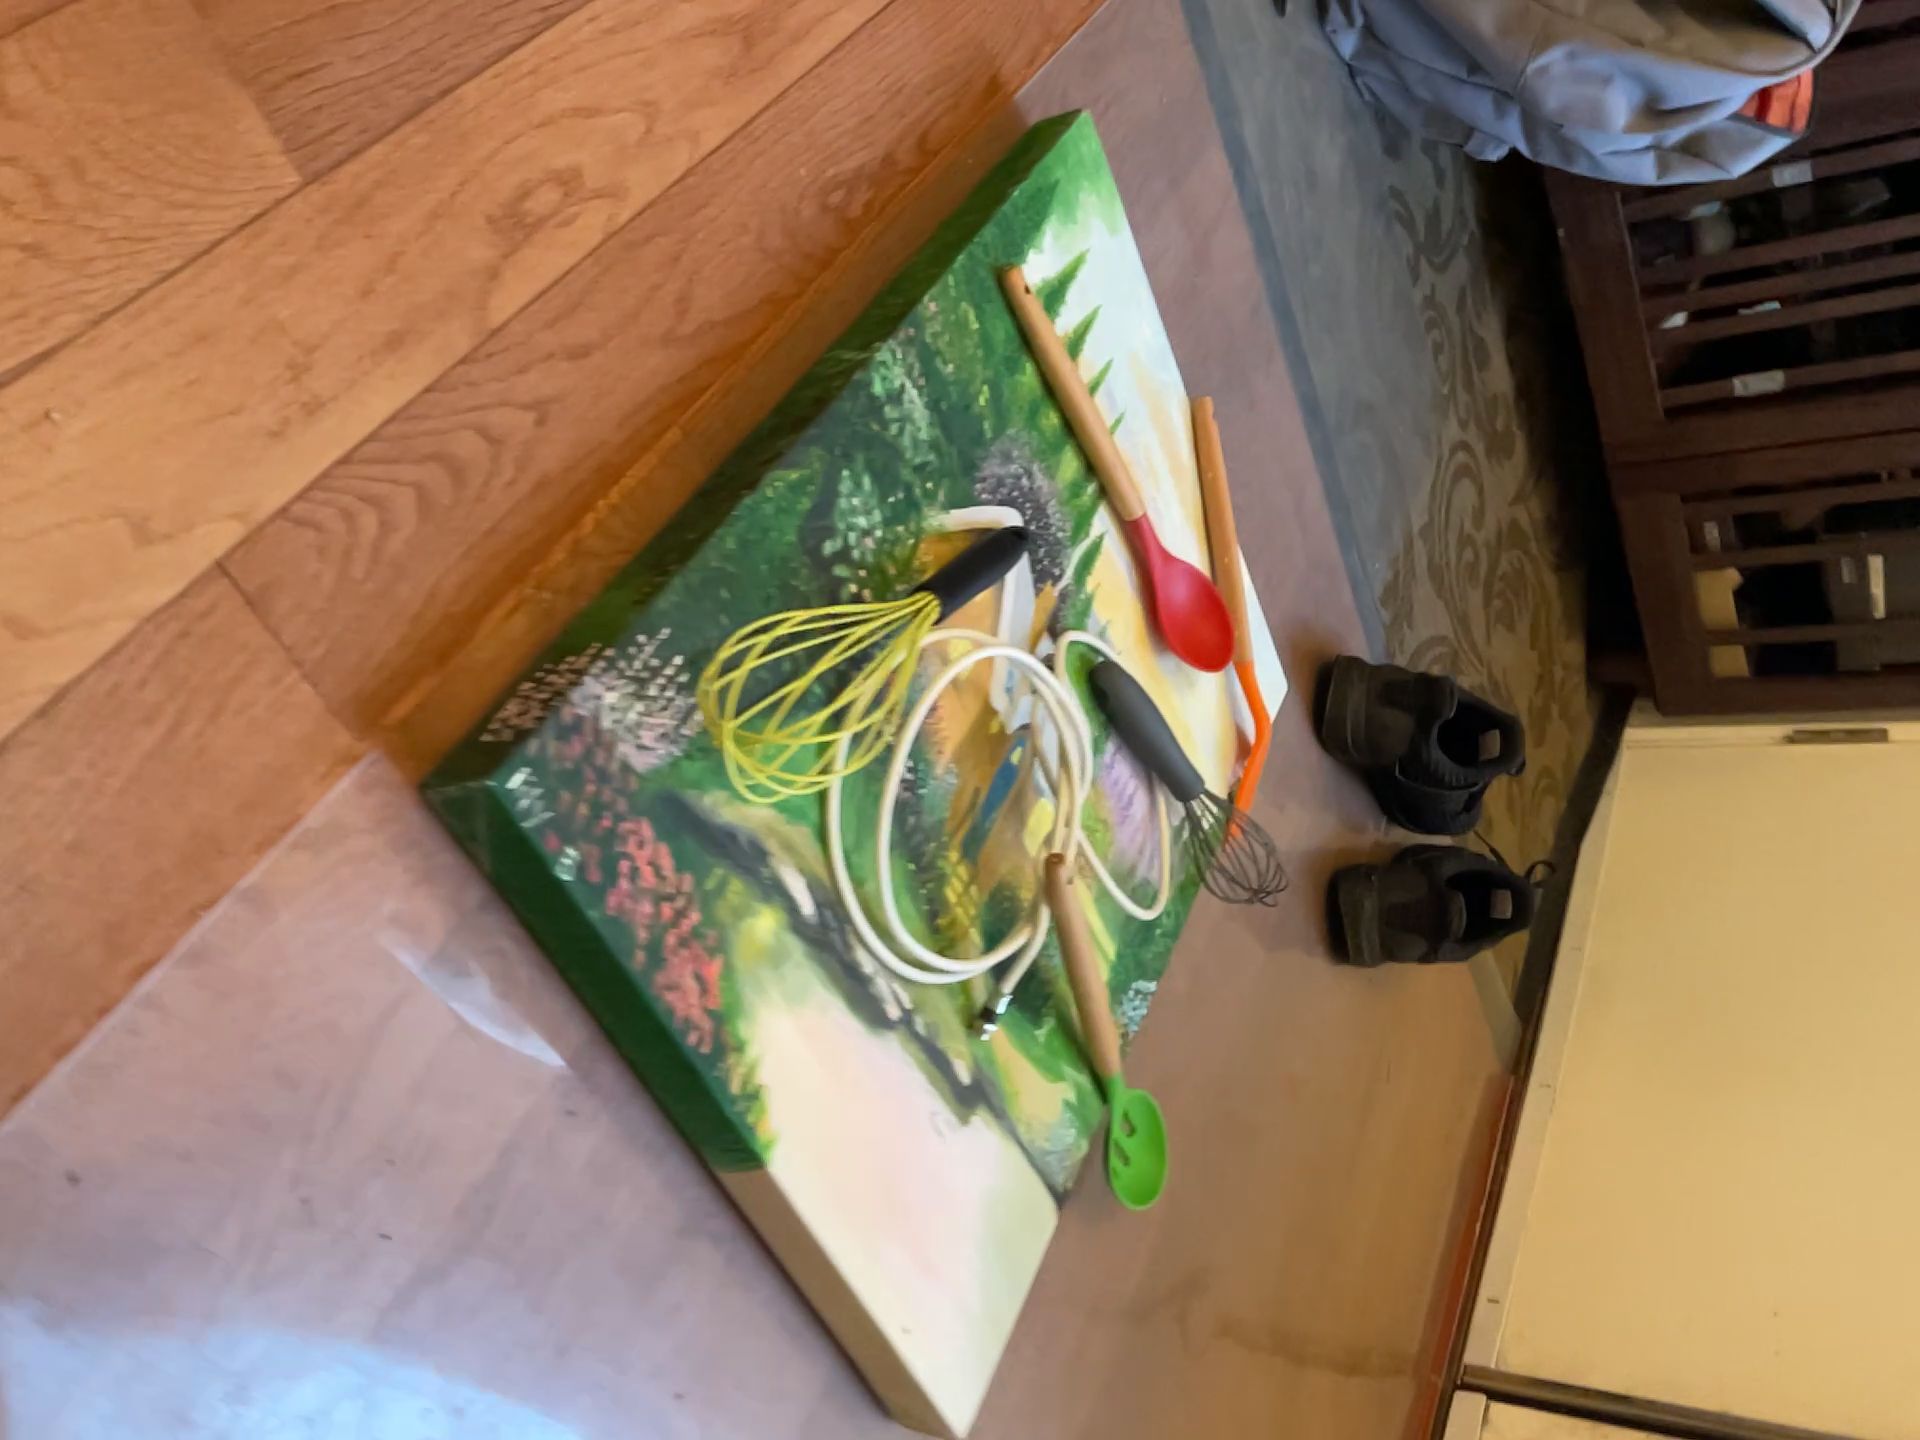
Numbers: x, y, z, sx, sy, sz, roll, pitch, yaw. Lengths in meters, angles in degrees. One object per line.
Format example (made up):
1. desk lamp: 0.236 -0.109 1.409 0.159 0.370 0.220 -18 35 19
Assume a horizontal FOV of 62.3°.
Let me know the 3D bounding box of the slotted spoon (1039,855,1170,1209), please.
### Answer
1. slotted spoon: 0.083 0.186 0.927 0.070 0.031 0.313 -59 146 -38

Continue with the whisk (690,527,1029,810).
1. whisk: -0.033 -0.043 0.765 0.312 0.067 0.080 -42 128 -55

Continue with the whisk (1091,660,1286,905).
1. whisk: 0.148 0.045 1.026 0.238 0.055 0.055 51 38 -33

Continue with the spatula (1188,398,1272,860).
1. spatula: 0.186 -0.063 1.119 0.081 0.041 0.322 -33 114 -64

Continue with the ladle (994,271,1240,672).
1. ladle: 0.098 -0.145 0.980 0.315 0.031 0.069 54 46 -36
